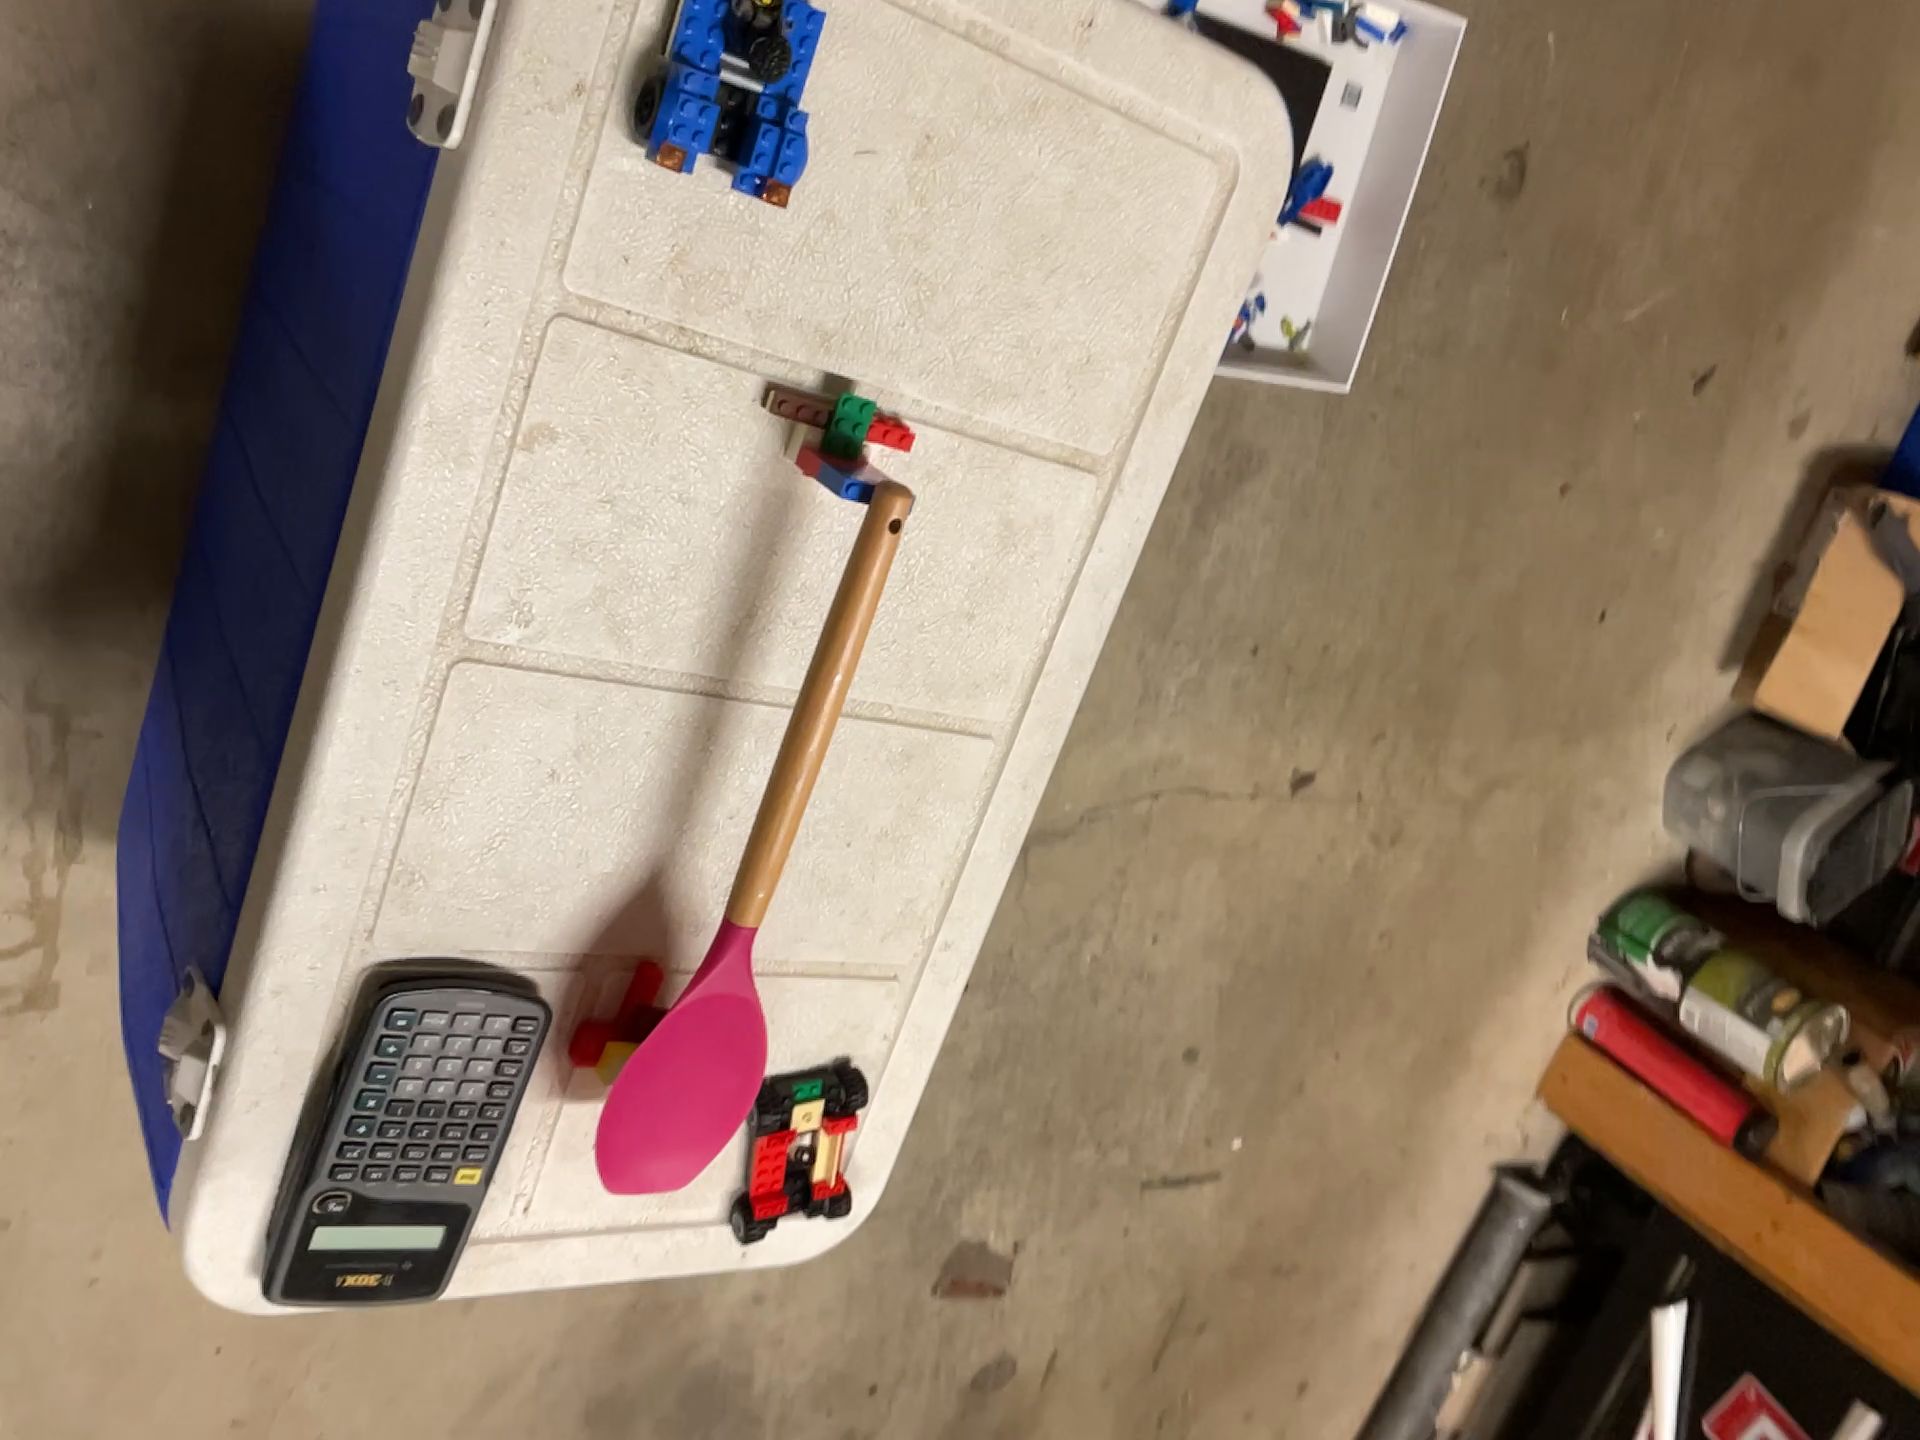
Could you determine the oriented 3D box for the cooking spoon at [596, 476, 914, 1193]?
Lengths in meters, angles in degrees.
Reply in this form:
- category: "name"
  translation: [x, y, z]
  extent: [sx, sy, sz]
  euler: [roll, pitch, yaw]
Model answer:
- category: "cooking spoon"
  translation: [-0.078, 0.055, 0.625]
  extent: [0.069, 0.017, 0.318]
  euler: [8, 112, -37]
